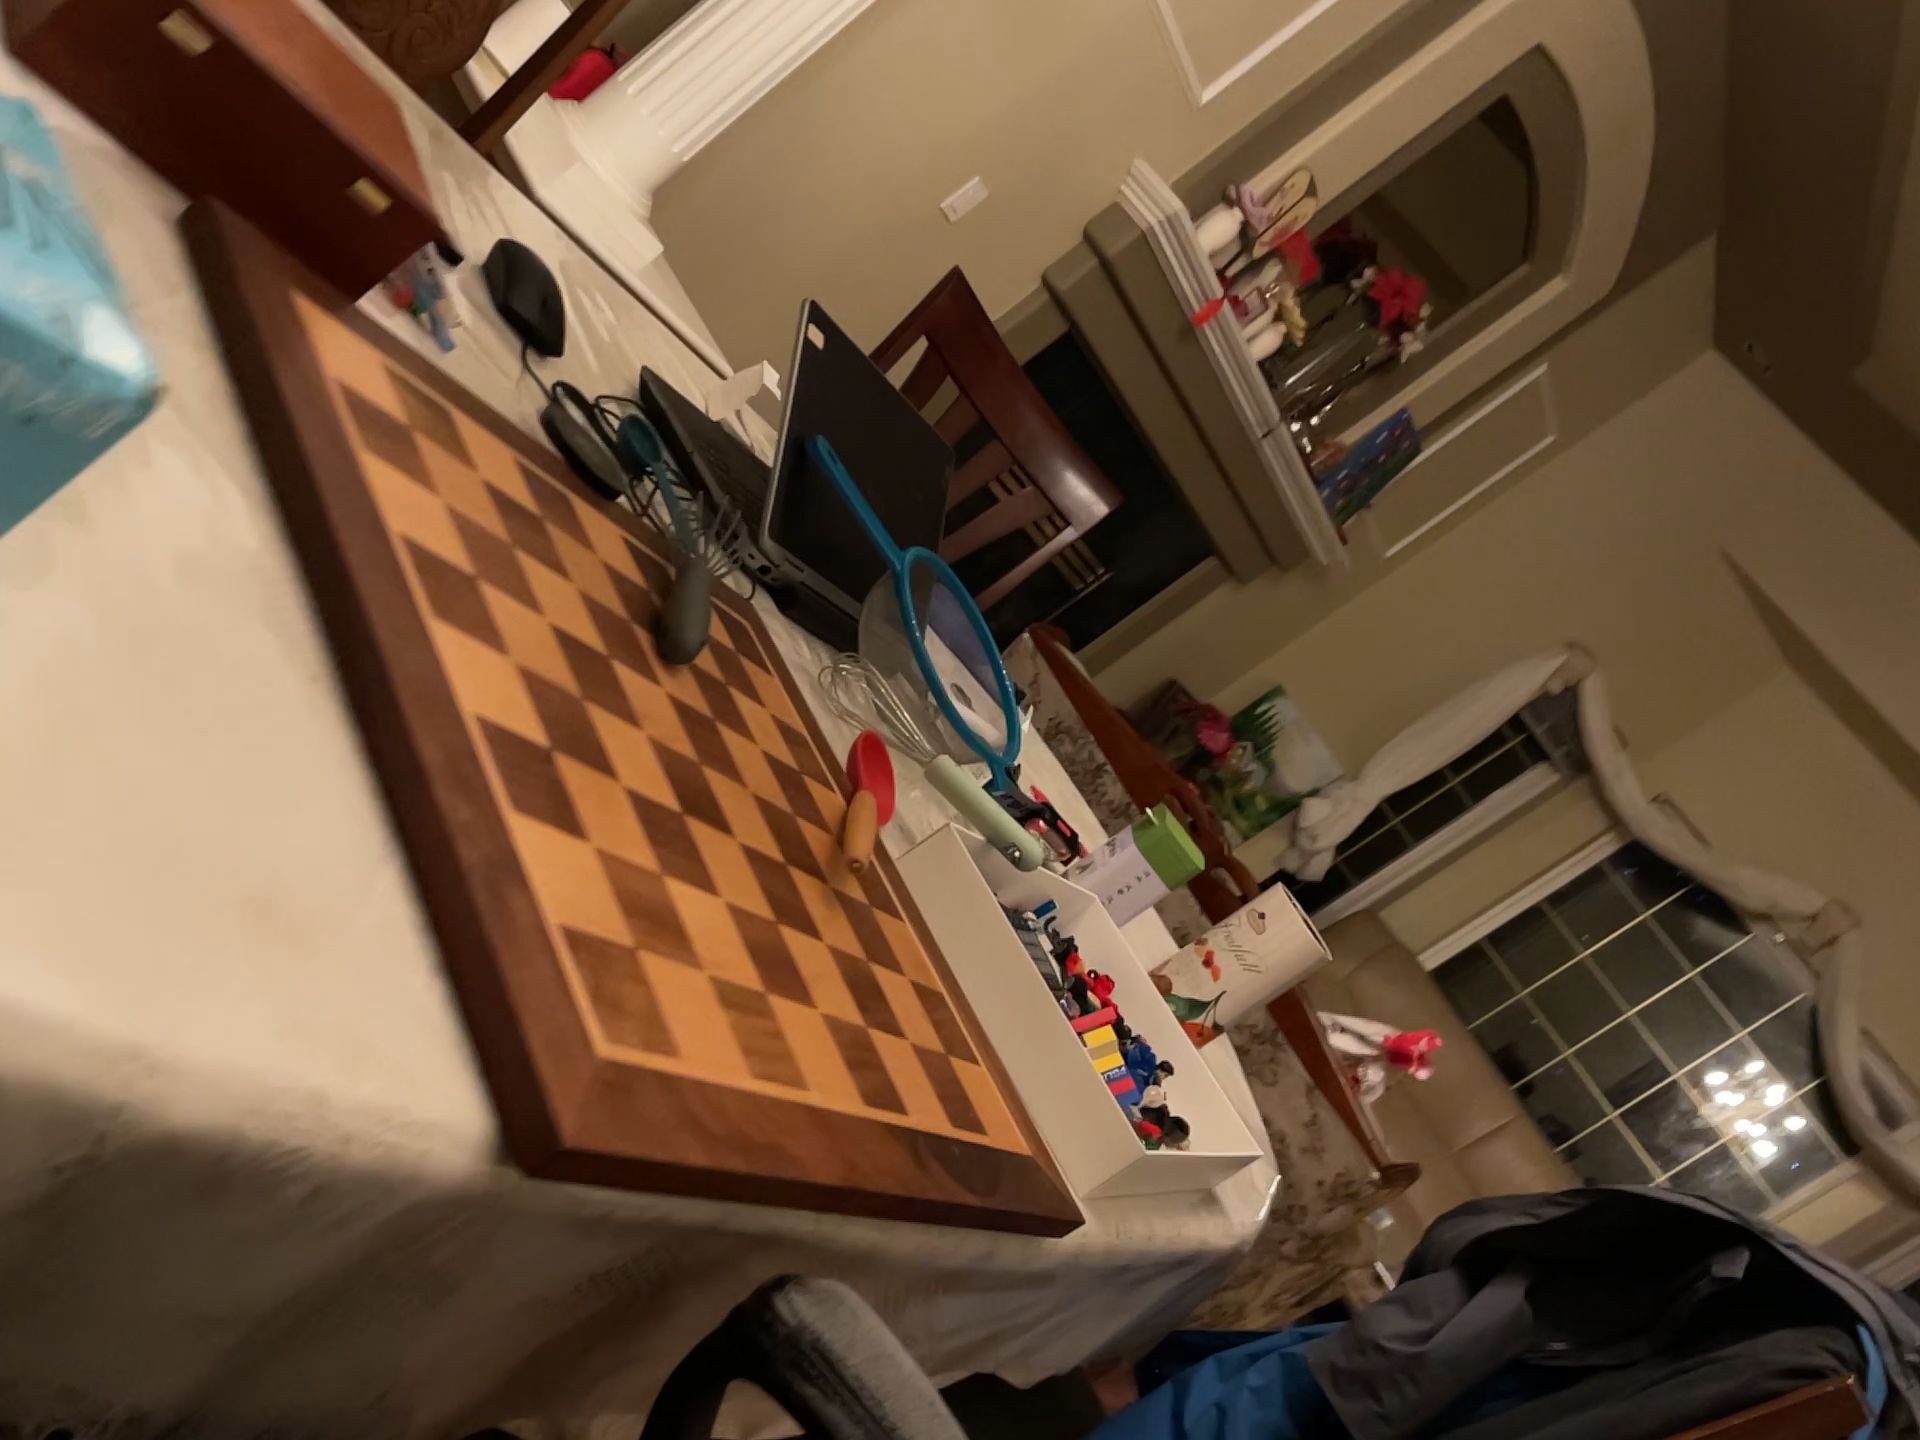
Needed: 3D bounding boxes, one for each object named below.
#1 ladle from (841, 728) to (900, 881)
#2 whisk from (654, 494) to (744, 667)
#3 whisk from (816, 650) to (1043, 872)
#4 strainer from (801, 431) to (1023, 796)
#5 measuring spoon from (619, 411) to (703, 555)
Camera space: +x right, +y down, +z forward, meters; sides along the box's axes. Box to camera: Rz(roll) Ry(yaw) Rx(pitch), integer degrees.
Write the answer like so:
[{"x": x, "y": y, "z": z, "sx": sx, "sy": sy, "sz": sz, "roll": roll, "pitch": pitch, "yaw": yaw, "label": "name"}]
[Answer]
[{"x": -0.059, "y": 0.058, "z": 1.005, "sx": 0.315, "sy": 0.031, "sz": 0.069, "roll": -95, "pitch": 170, "yaw": -82, "label": "ladle"}, {"x": -0.165, "y": -0.087, "z": 0.974, "sx": 0.055, "sy": 0.055, "sz": 0.239, "roll": 36, "pitch": 19, "yaw": -18, "label": "whisk"}, {"x": -0.024, "y": 0.030, "z": 1.201, "sx": 0.247, "sy": 0.058, "sz": 0.059, "roll": 43, "pitch": 34, "yaw": 27, "label": "whisk"}, {"x": -0.066, "y": -0.089, "z": 1.370, "sx": 0.340, "sy": 0.095, "sz": 0.211, "roll": 55, "pitch": 21, "yaw": -25, "label": "strainer"}, {"x": -0.218, "y": -0.163, "z": 1.159, "sx": 0.128, "sy": 0.021, "sz": 0.042, "roll": 66, "pitch": 17, "yaw": 0, "label": "measuring spoon"}]
